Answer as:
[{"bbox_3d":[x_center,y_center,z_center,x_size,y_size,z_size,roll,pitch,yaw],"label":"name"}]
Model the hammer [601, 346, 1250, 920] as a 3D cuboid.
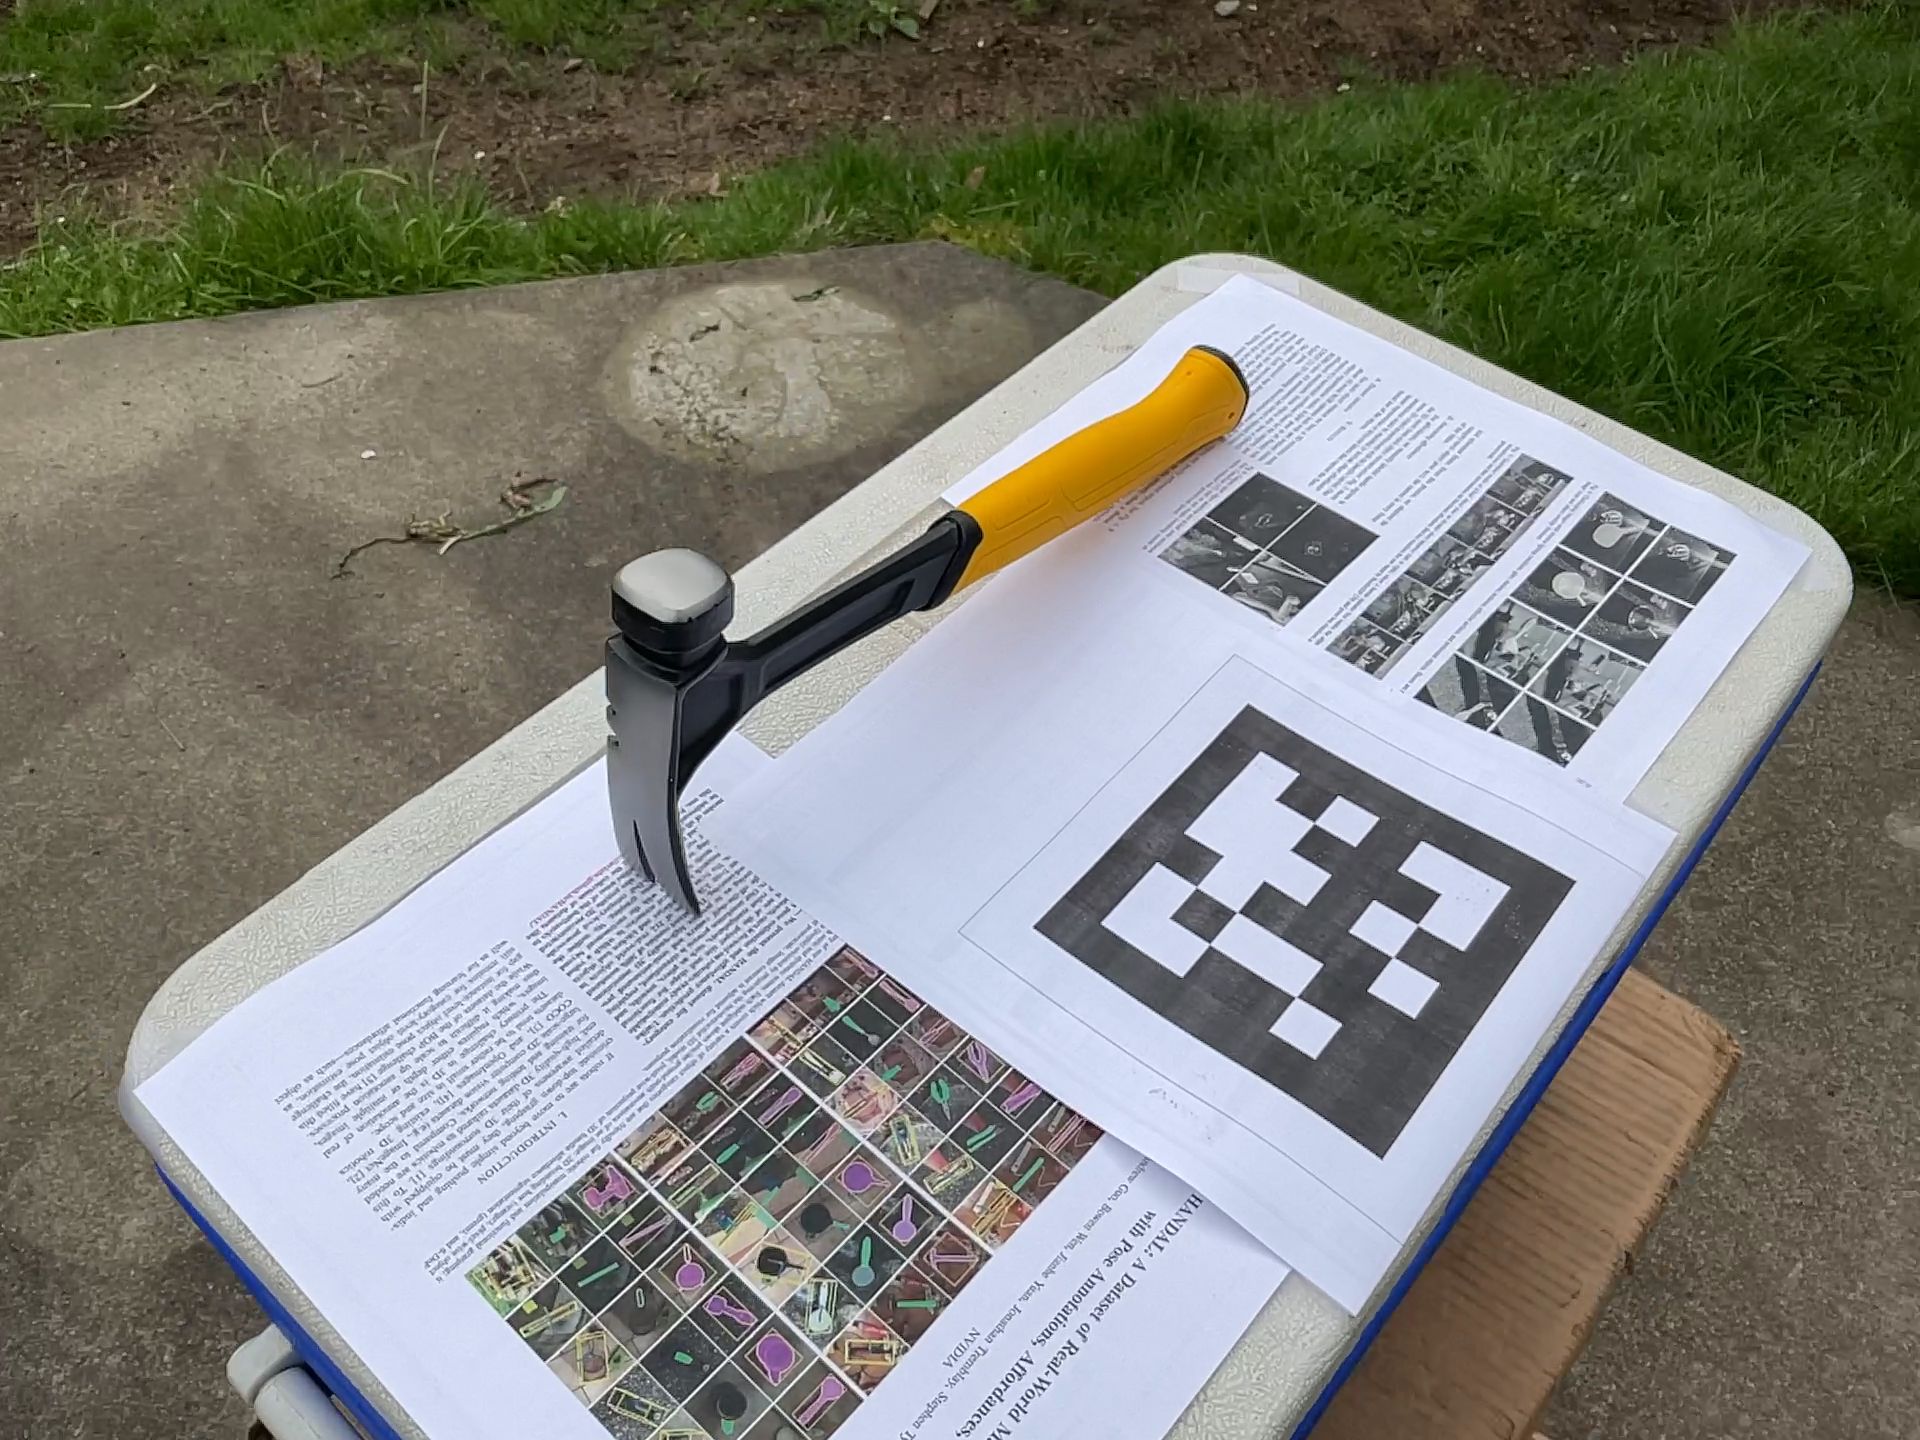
[{"bbox_3d":[0.006,-0.059,0.580,0.034,0.127,0.337,33,45,24],"label":"hammer"}]
